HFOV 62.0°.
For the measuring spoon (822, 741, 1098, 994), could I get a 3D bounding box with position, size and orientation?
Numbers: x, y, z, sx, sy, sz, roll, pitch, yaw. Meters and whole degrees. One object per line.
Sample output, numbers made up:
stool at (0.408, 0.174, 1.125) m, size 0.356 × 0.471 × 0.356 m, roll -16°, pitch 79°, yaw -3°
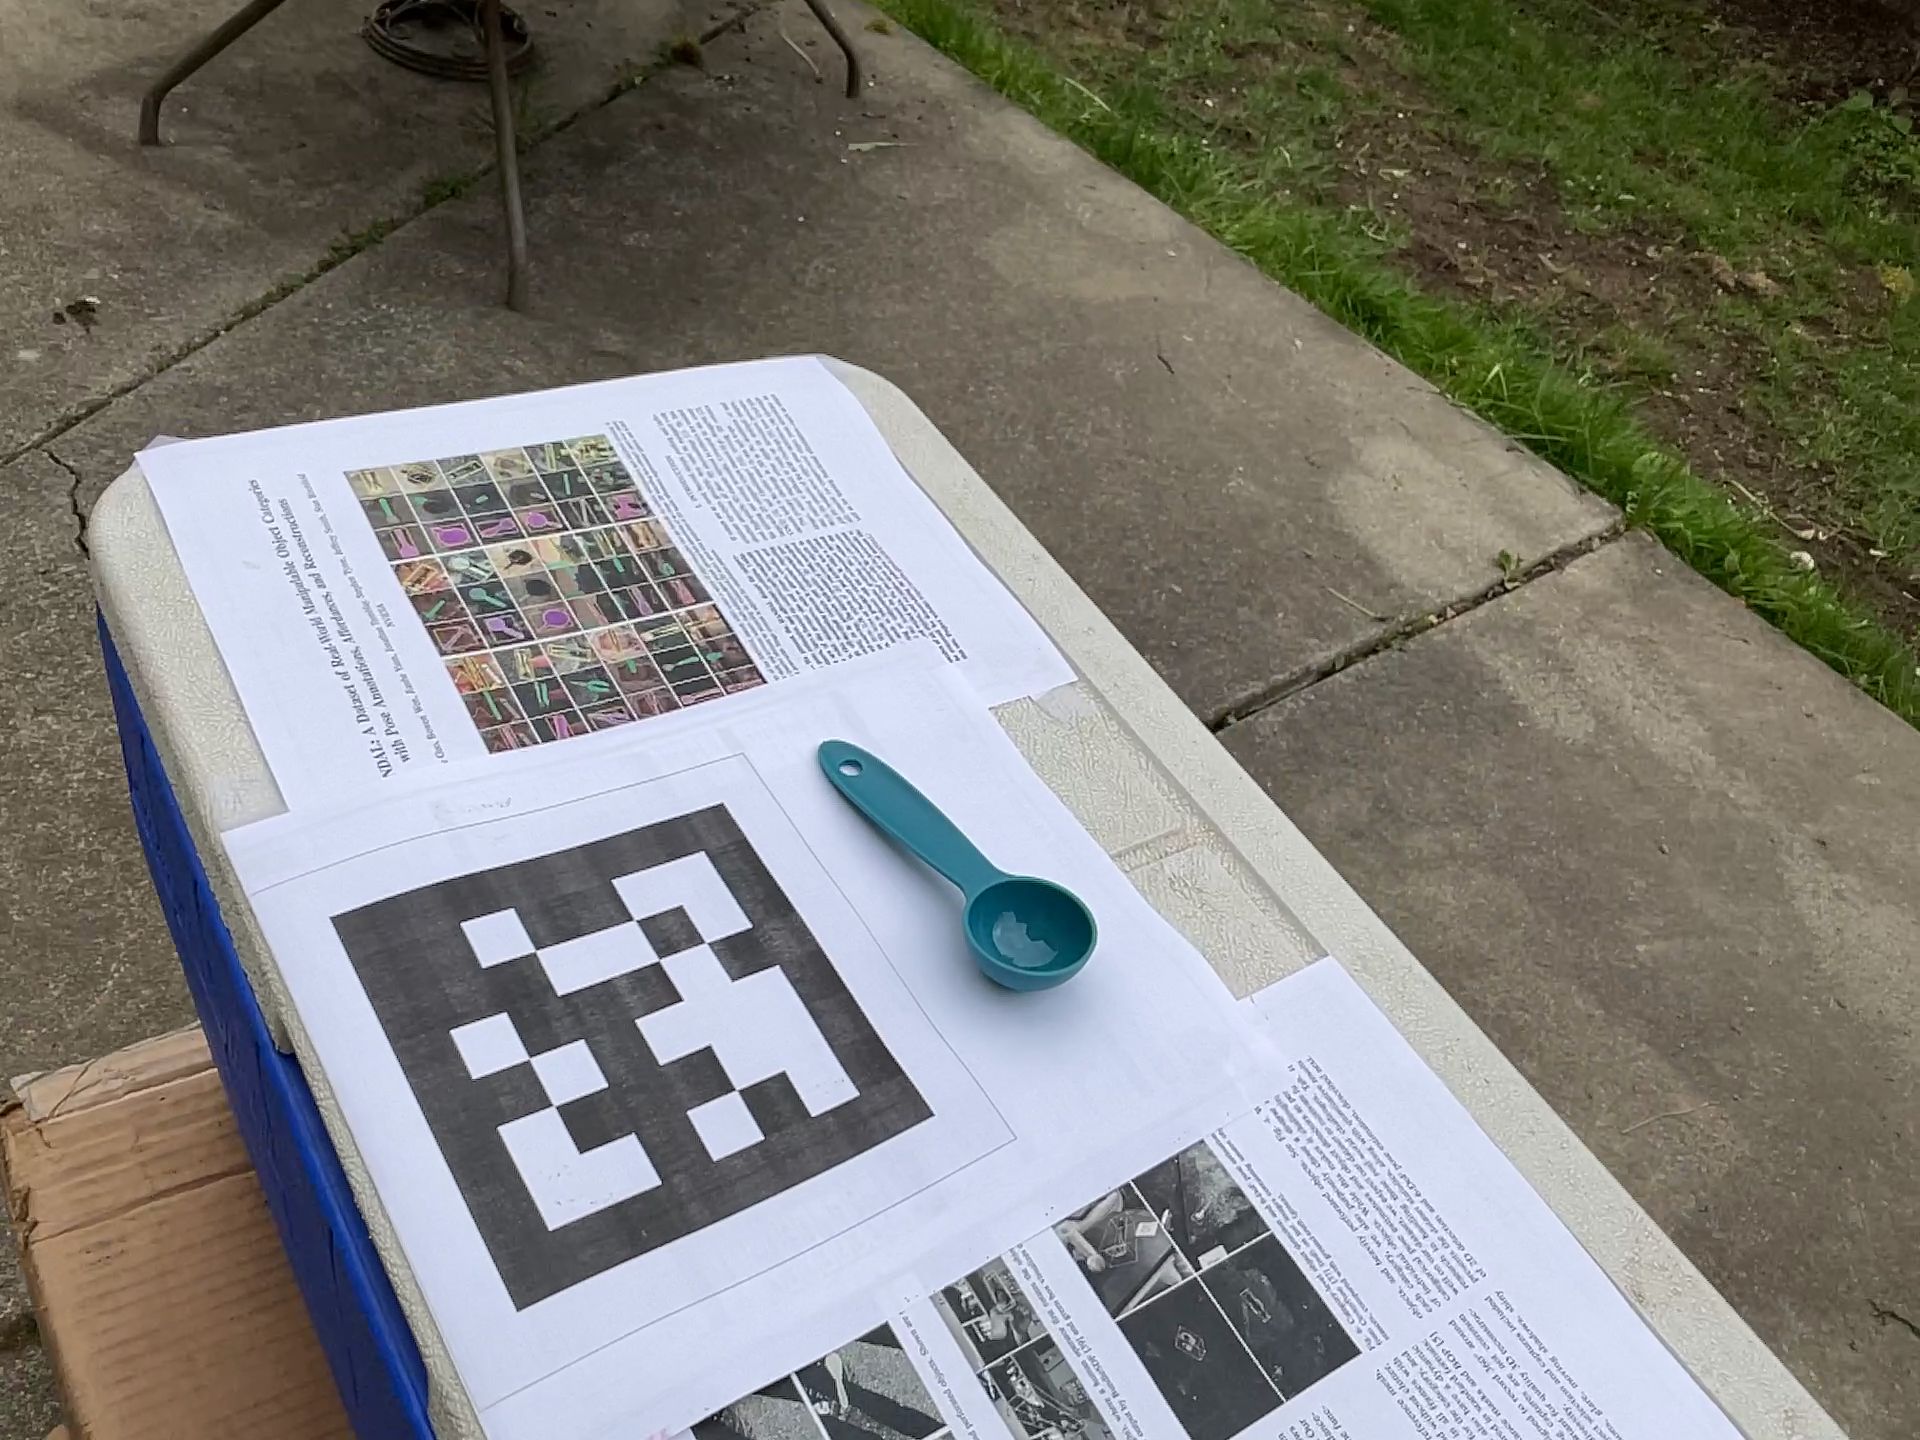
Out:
measuring spoon at (-0.006, 0.049, 0.528) m, size 0.042 × 0.021 × 0.129 m, roll -22°, pitch 46°, yaw -35°
